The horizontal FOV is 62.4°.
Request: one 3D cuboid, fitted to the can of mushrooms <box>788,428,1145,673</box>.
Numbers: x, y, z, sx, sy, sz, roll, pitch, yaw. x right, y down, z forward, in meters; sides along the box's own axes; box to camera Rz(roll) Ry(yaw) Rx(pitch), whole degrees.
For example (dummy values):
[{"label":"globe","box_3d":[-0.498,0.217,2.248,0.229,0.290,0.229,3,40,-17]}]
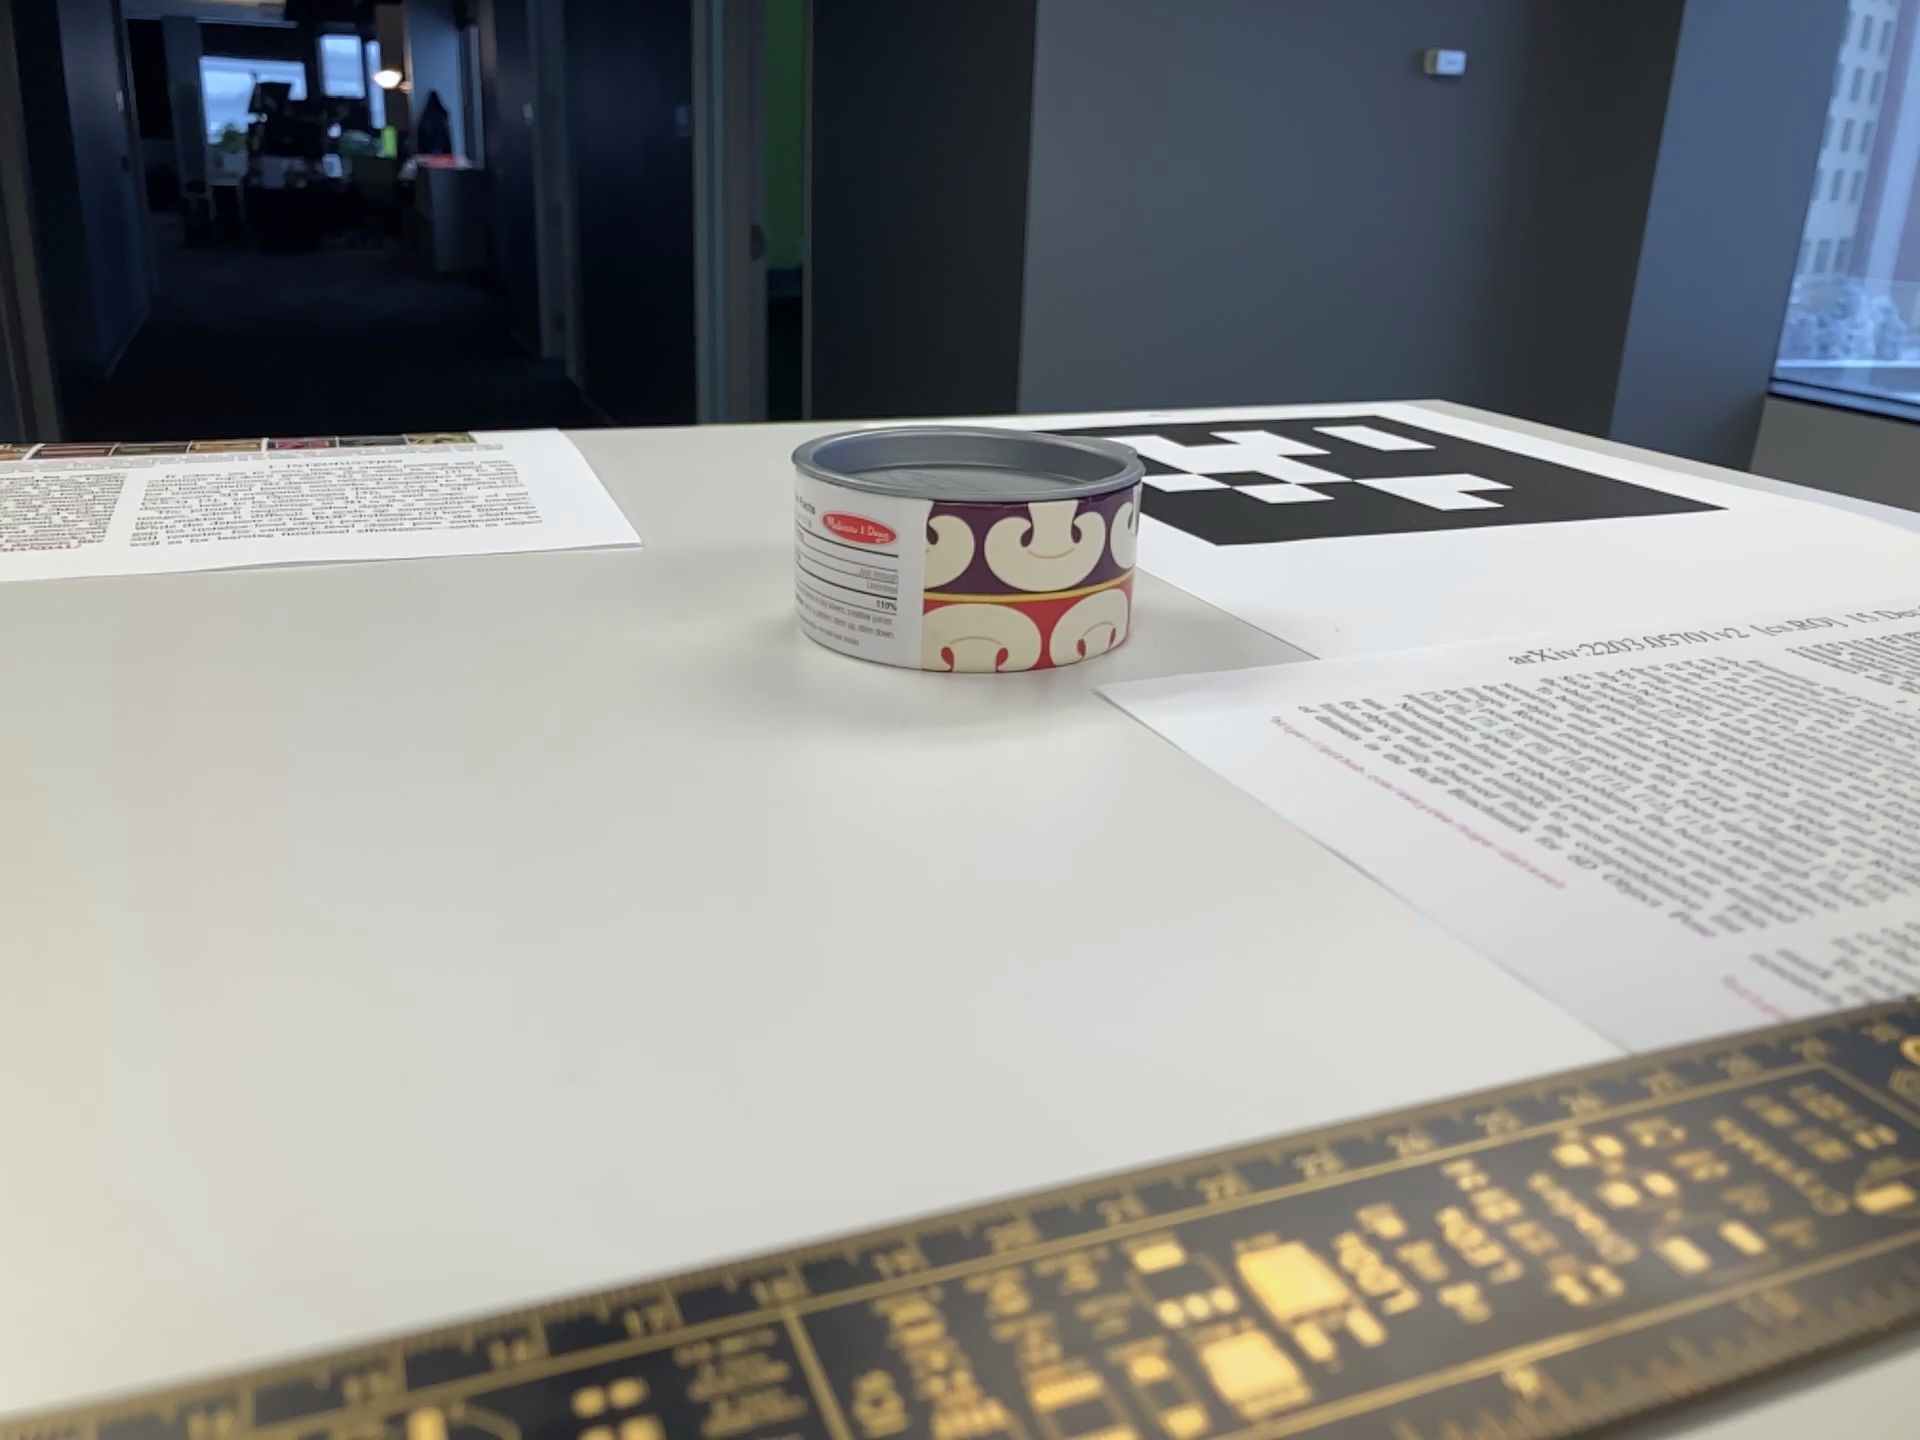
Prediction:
[{"label":"can of mushrooms","box_3d":[0.003,-0.034,0.301,0.071,0.033,0.071,1,19,0]}]
